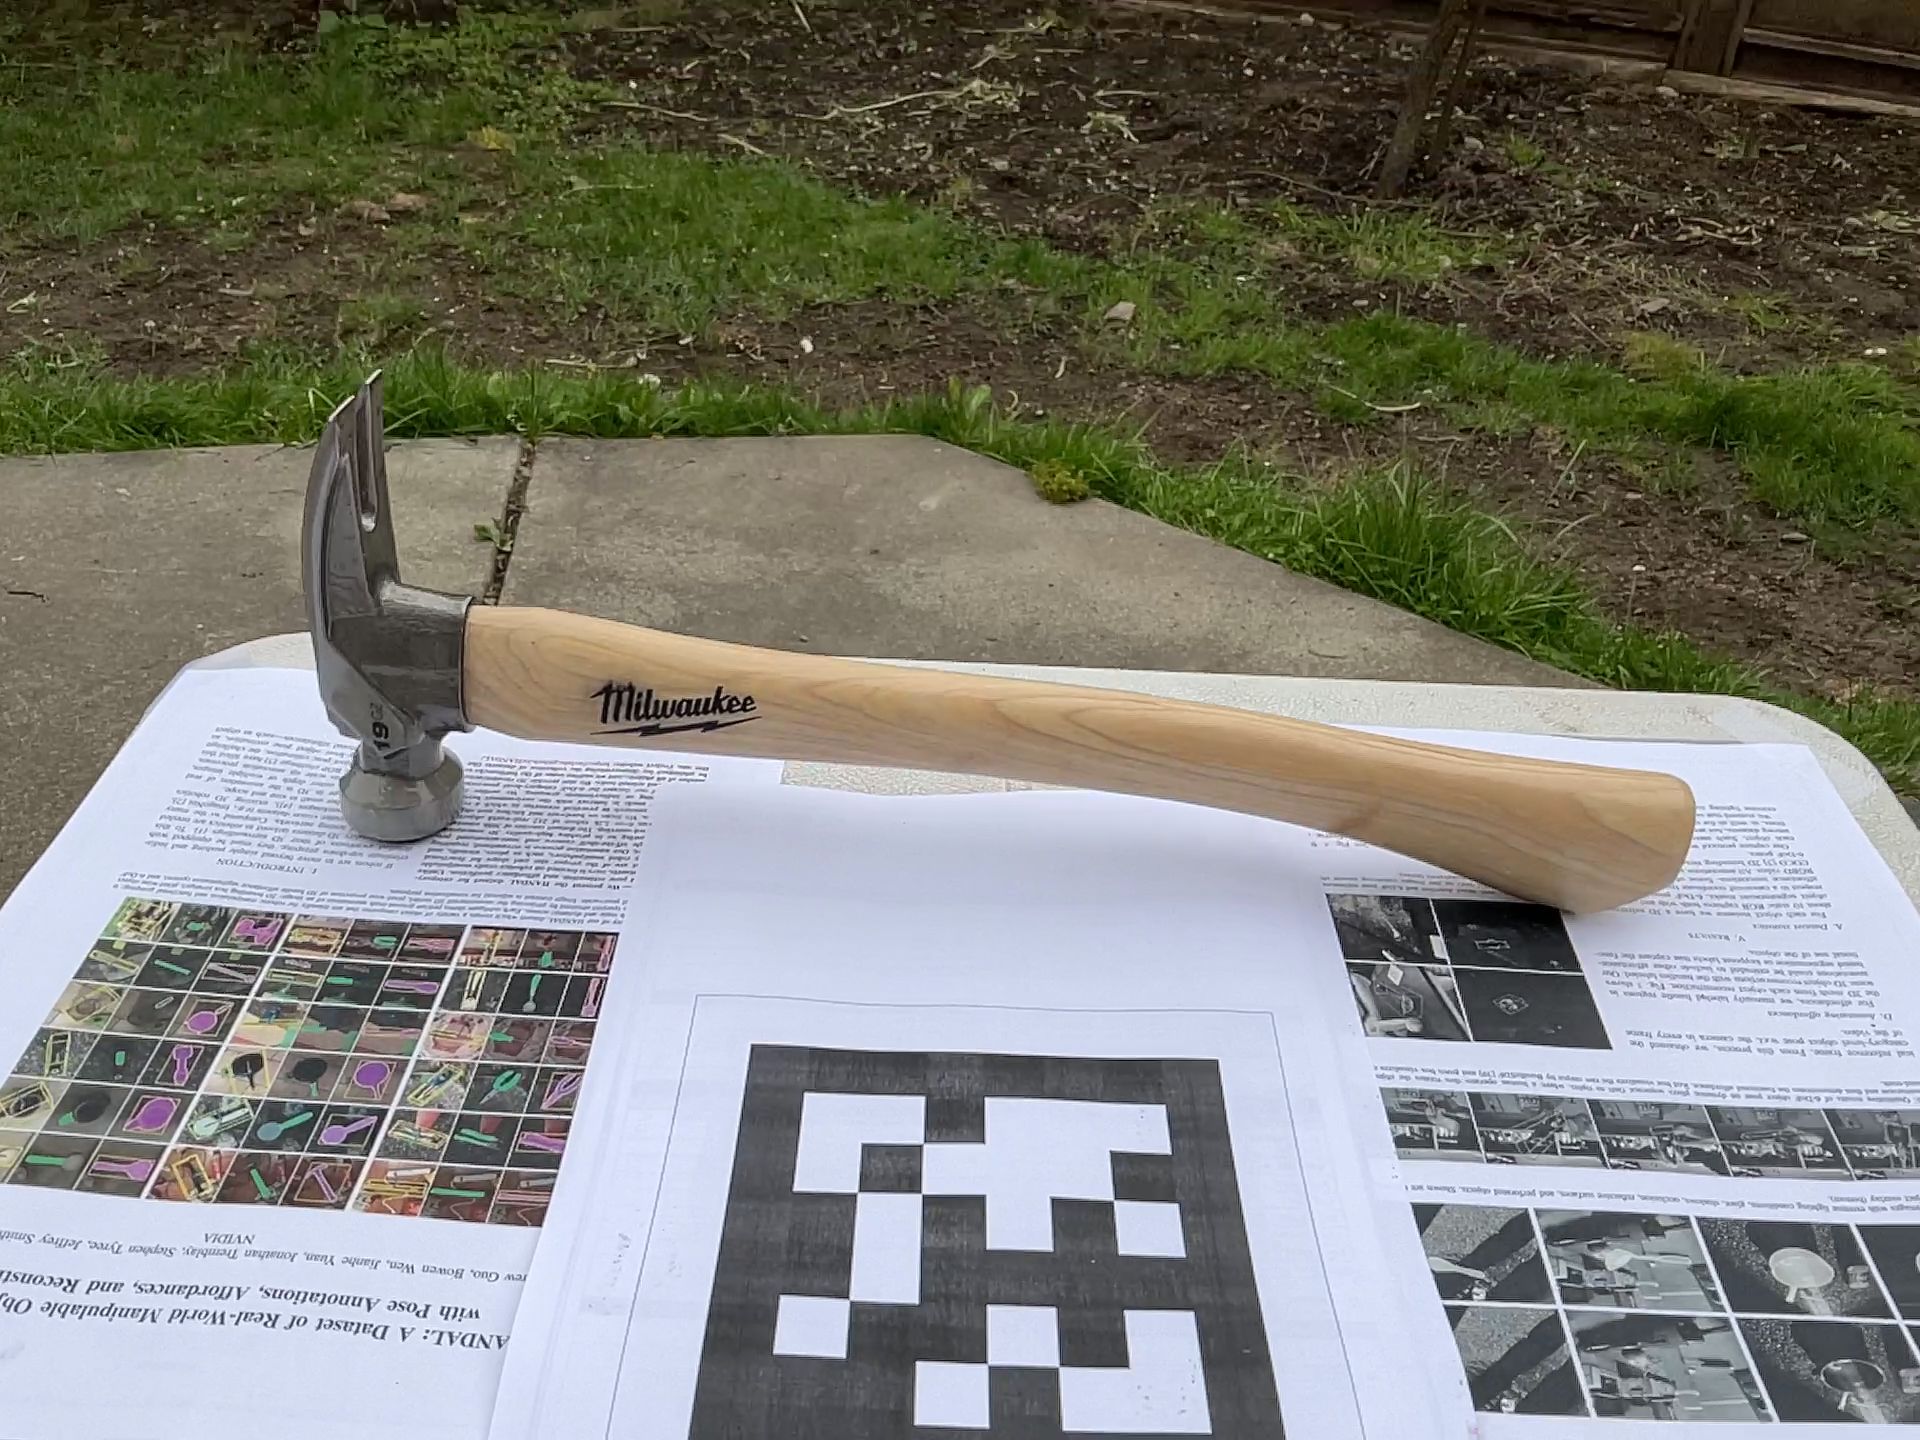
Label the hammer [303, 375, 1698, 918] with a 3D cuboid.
[{"bbox_3d":[0.014,-0.003,0.476,0.410,0.146,0.038,8,36,-1],"label":"hammer"}]
